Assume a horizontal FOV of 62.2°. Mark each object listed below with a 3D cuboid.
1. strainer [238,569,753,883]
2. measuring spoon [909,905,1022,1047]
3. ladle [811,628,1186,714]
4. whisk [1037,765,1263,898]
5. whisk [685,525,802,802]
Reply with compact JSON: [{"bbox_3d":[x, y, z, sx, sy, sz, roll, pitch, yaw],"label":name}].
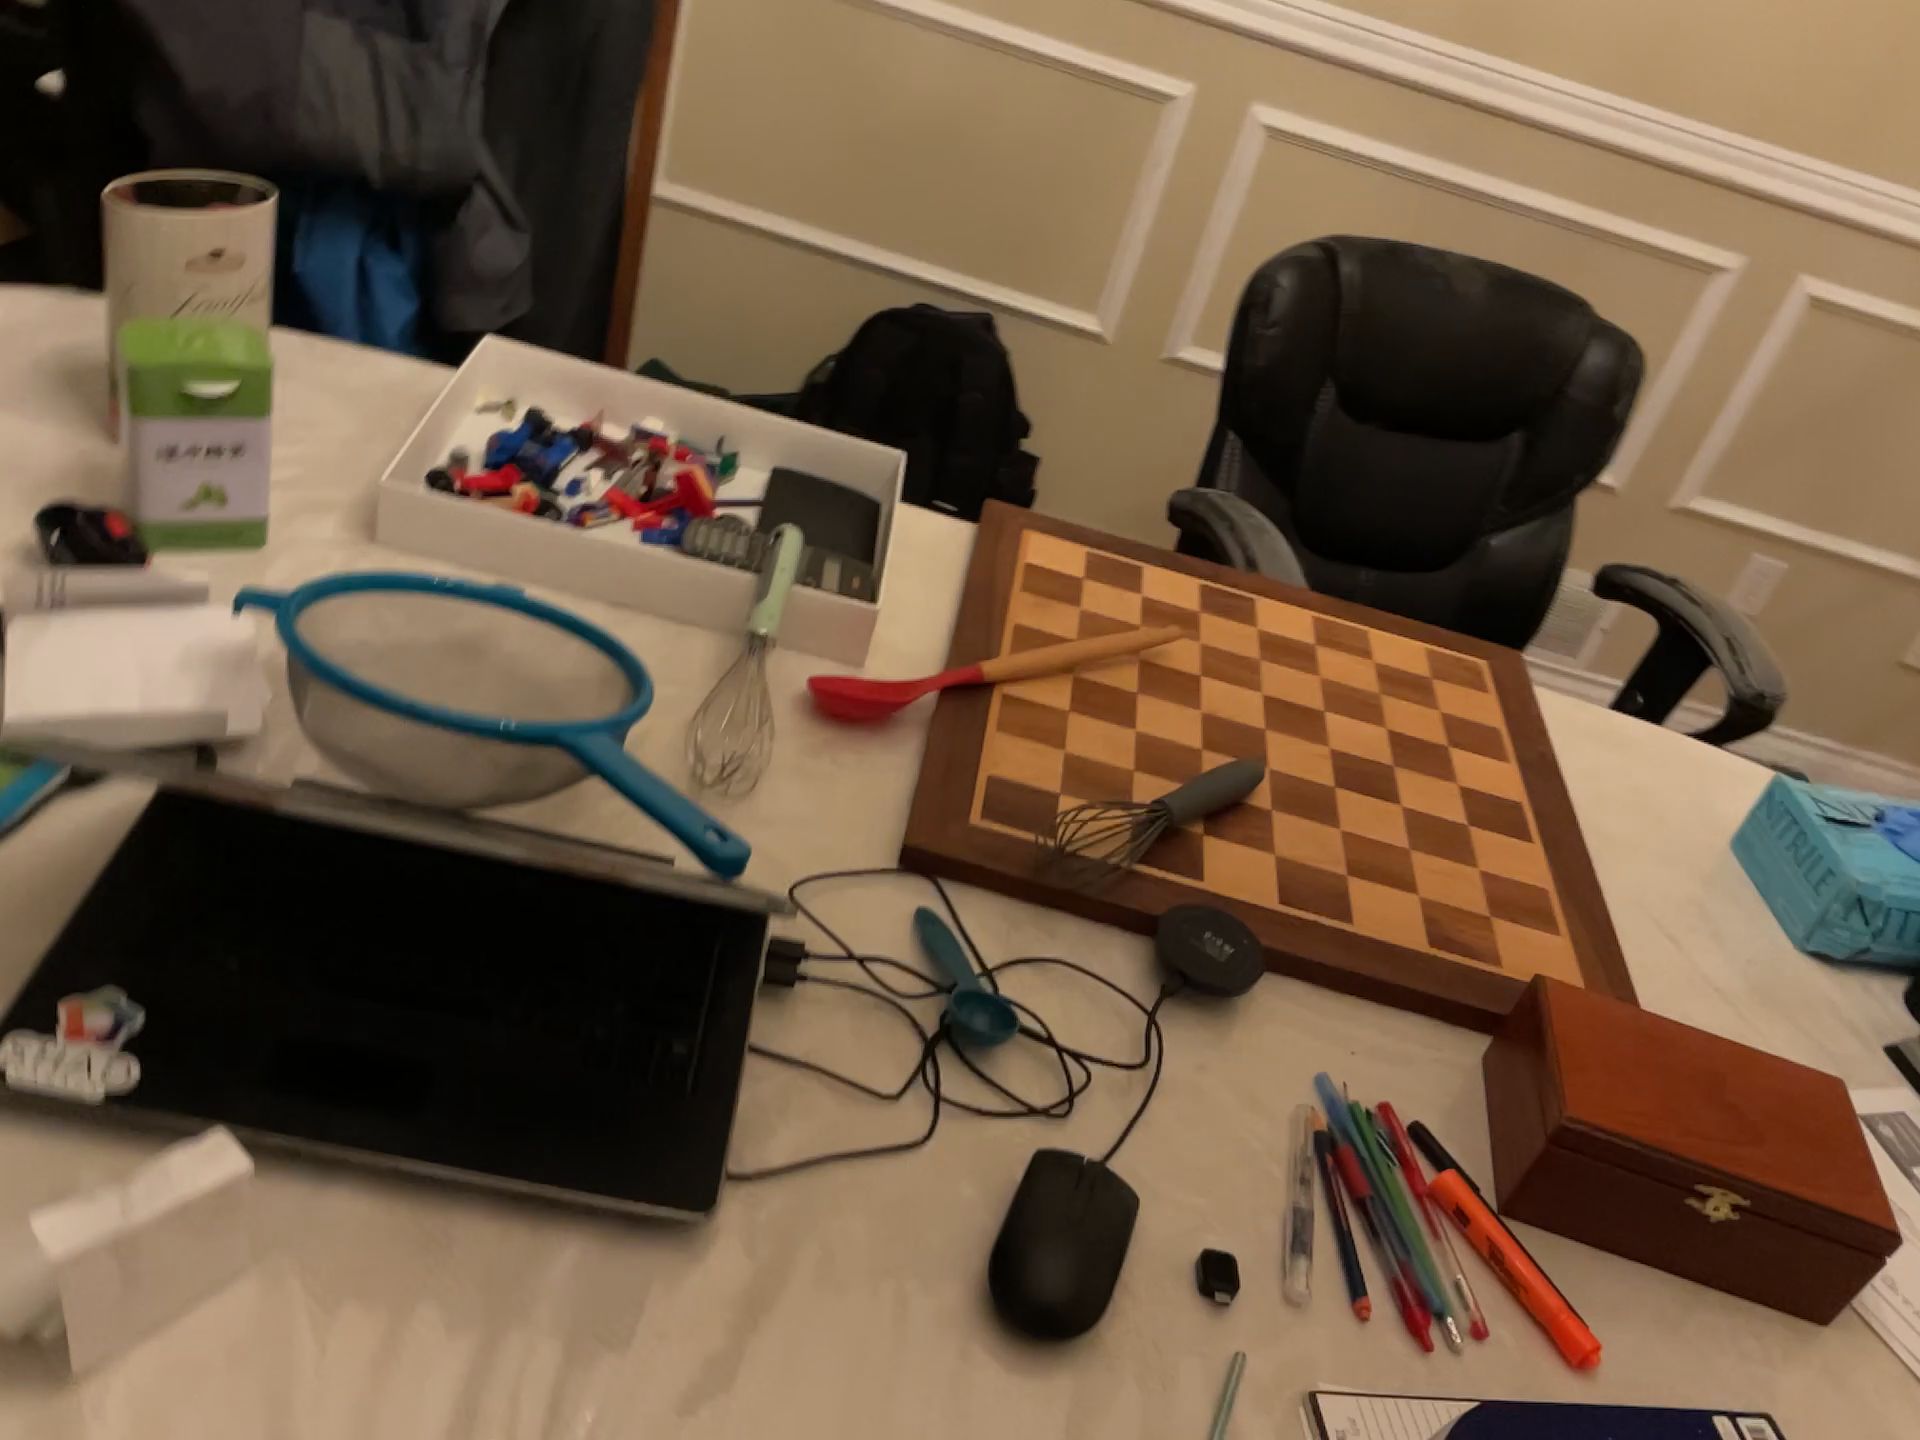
[{"bbox_3d":[-0.245,0.026,0.896,0.341,0.095,0.210,34,24,30],"label":"strainer"},{"bbox_3d":[-0.005,0.149,0.916,0.042,0.021,0.129,8,23,-28],"label":"measuring spoon"},{"bbox_3d":[0.037,-0.040,1.161,0.315,0.031,0.069,-11,22,-29],"label":"ladle"},{"bbox_3d":[0.132,0.066,1.046,0.238,0.055,0.055,-16,61,-46],"label":"whisk"},{"bbox_3d":[-0.138,-0.045,1.061,0.059,0.058,0.246,36,41,-28],"label":"whisk"}]
